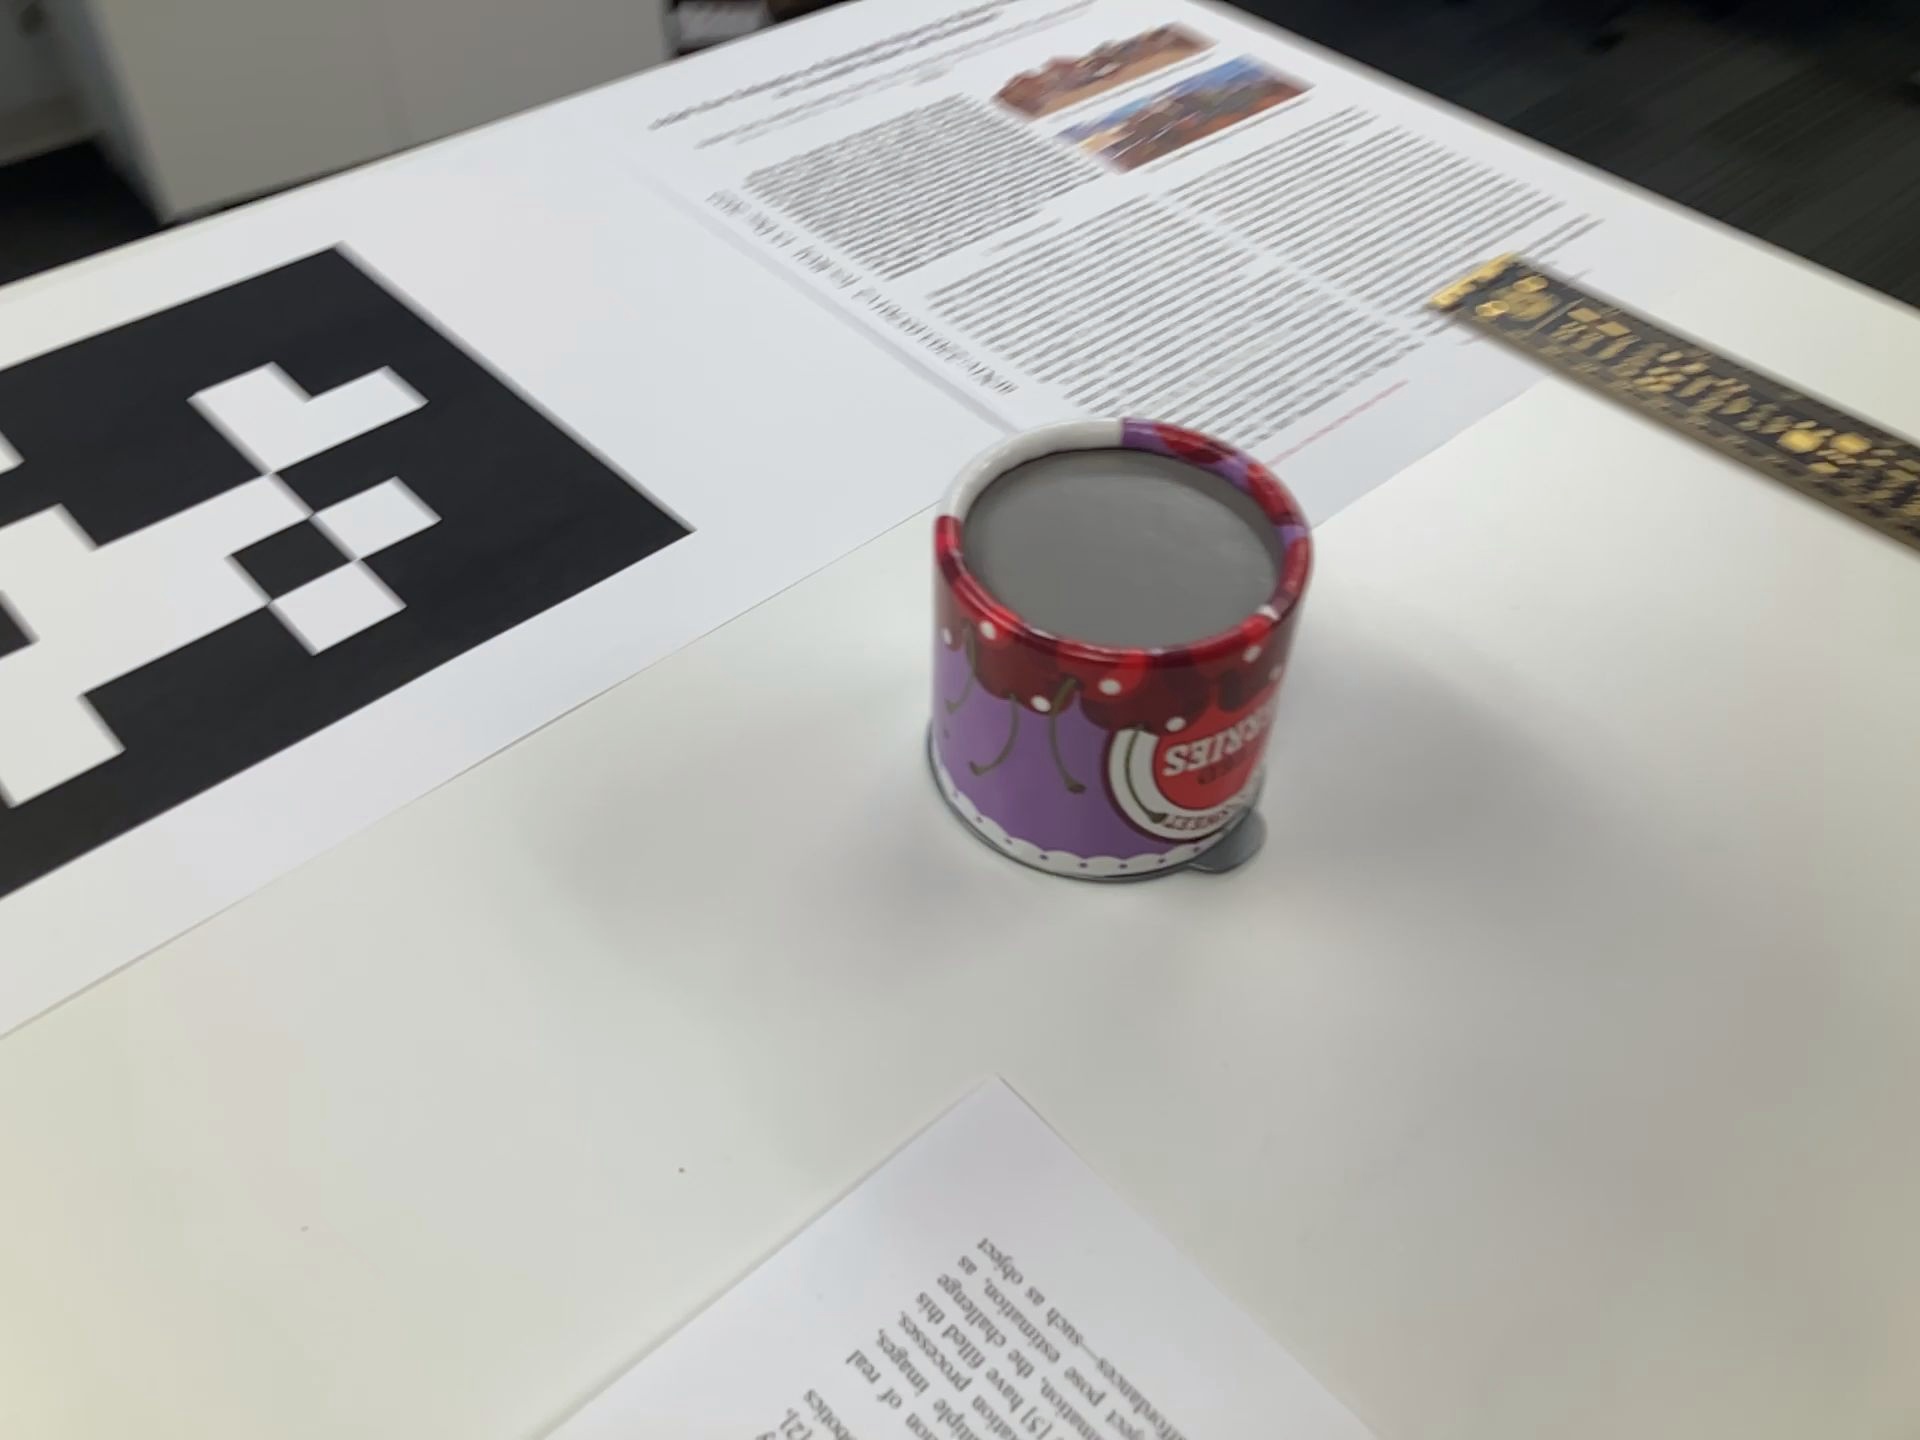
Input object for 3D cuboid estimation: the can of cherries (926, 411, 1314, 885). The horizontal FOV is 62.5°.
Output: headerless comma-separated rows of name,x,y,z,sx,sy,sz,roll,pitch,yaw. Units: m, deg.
can of cherries,0.029,-0.013,0.289,0.071,0.058,0.071,1,47,-1
